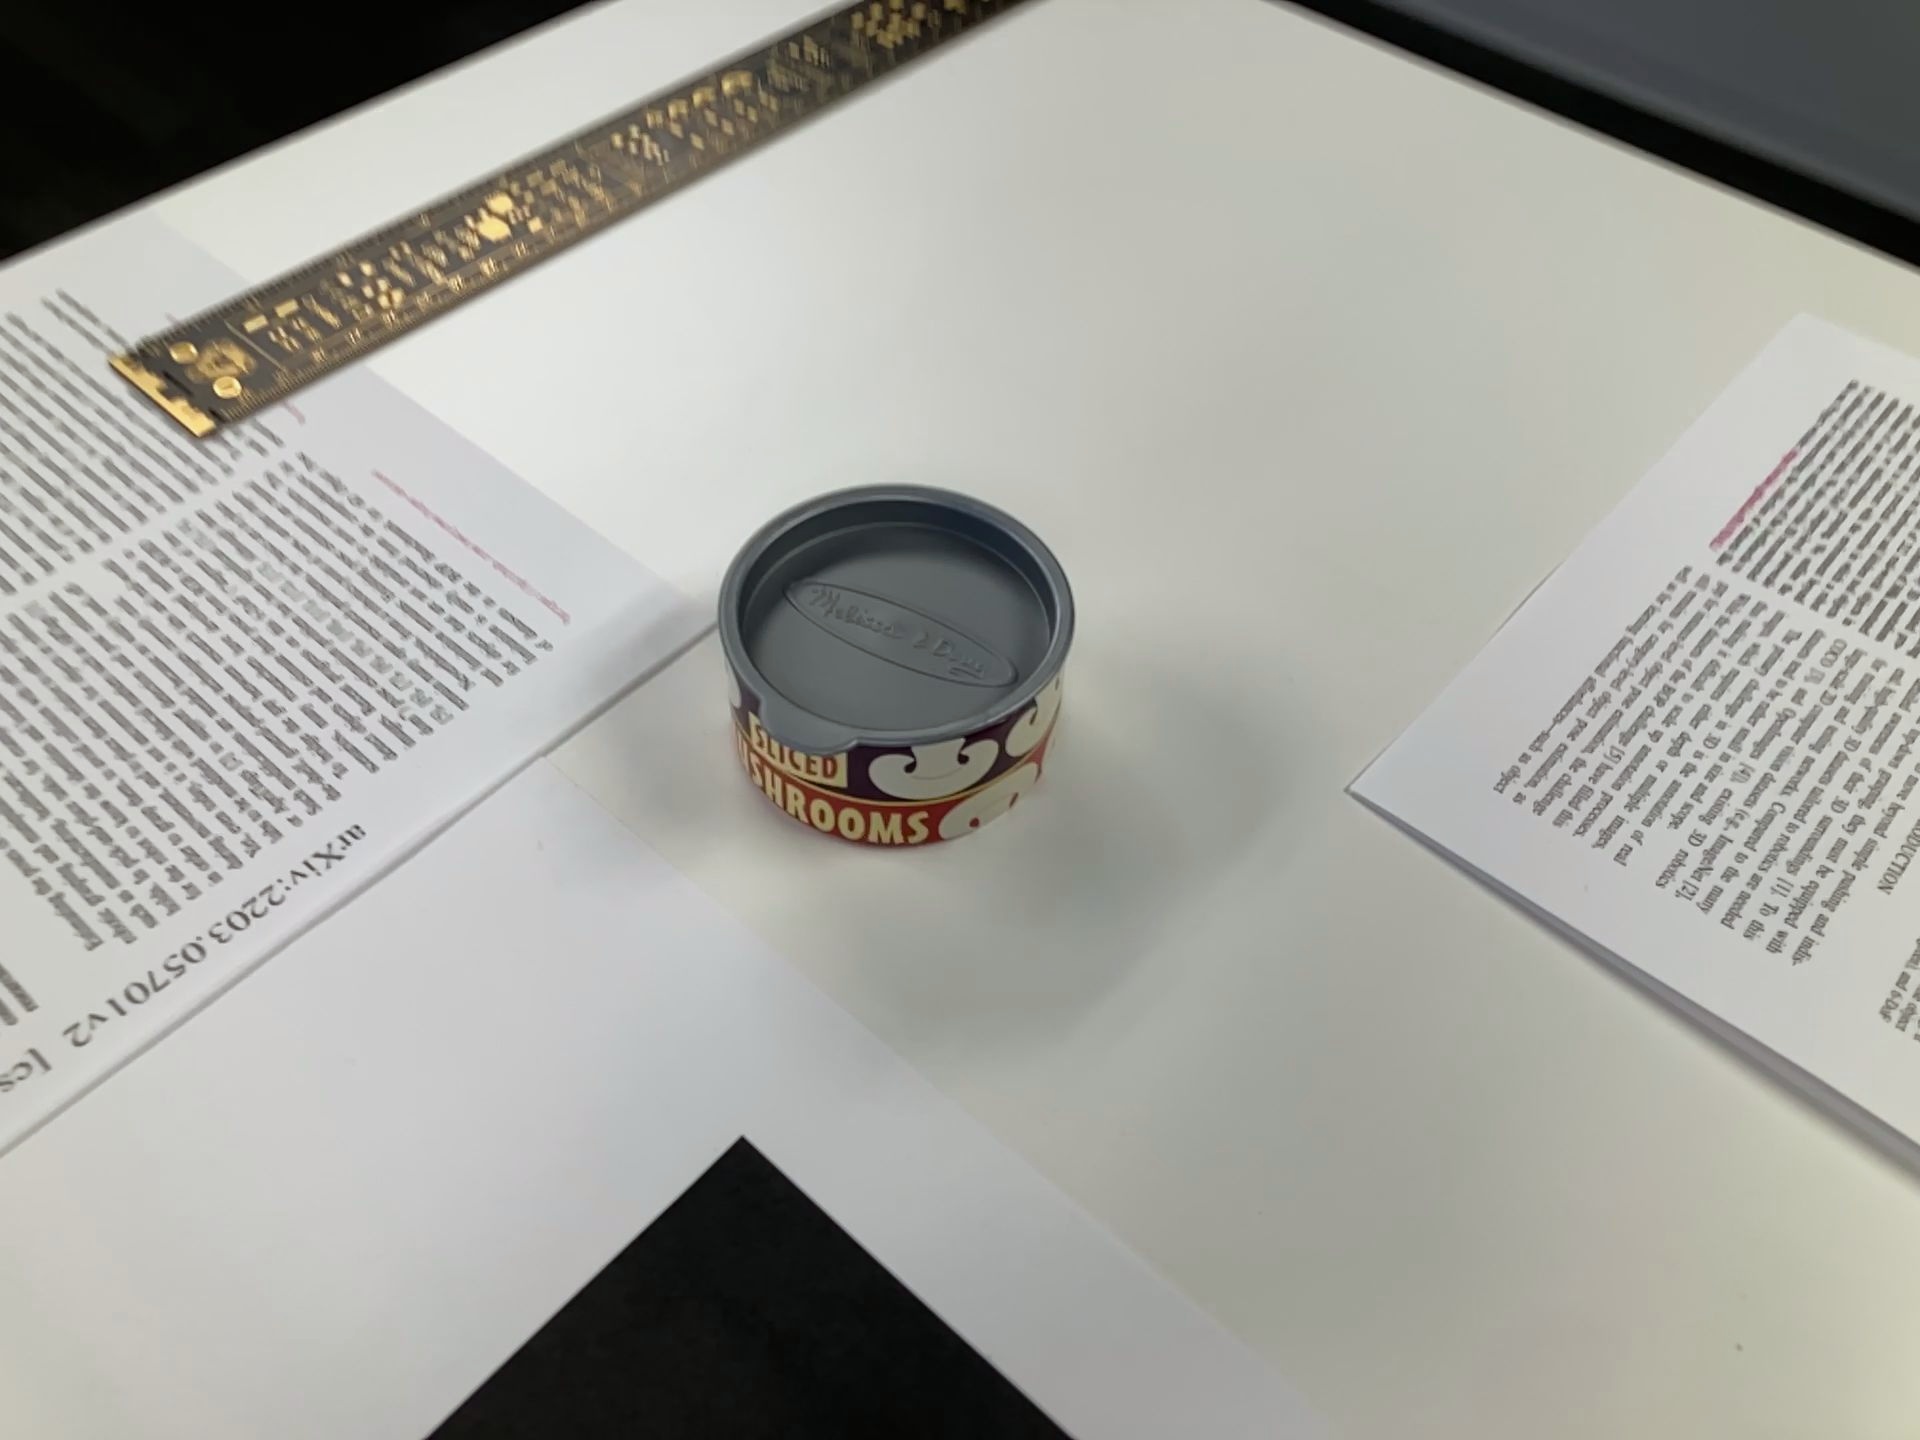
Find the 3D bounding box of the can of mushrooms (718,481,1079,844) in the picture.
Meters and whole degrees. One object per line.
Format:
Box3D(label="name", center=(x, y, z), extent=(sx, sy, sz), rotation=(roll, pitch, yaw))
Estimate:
Box3D(label="can of mushrooms", center=(-0.013, -0.010, 0.301), extent=(0.071, 0.033, 0.071), rotation=(2, 51, -2))
